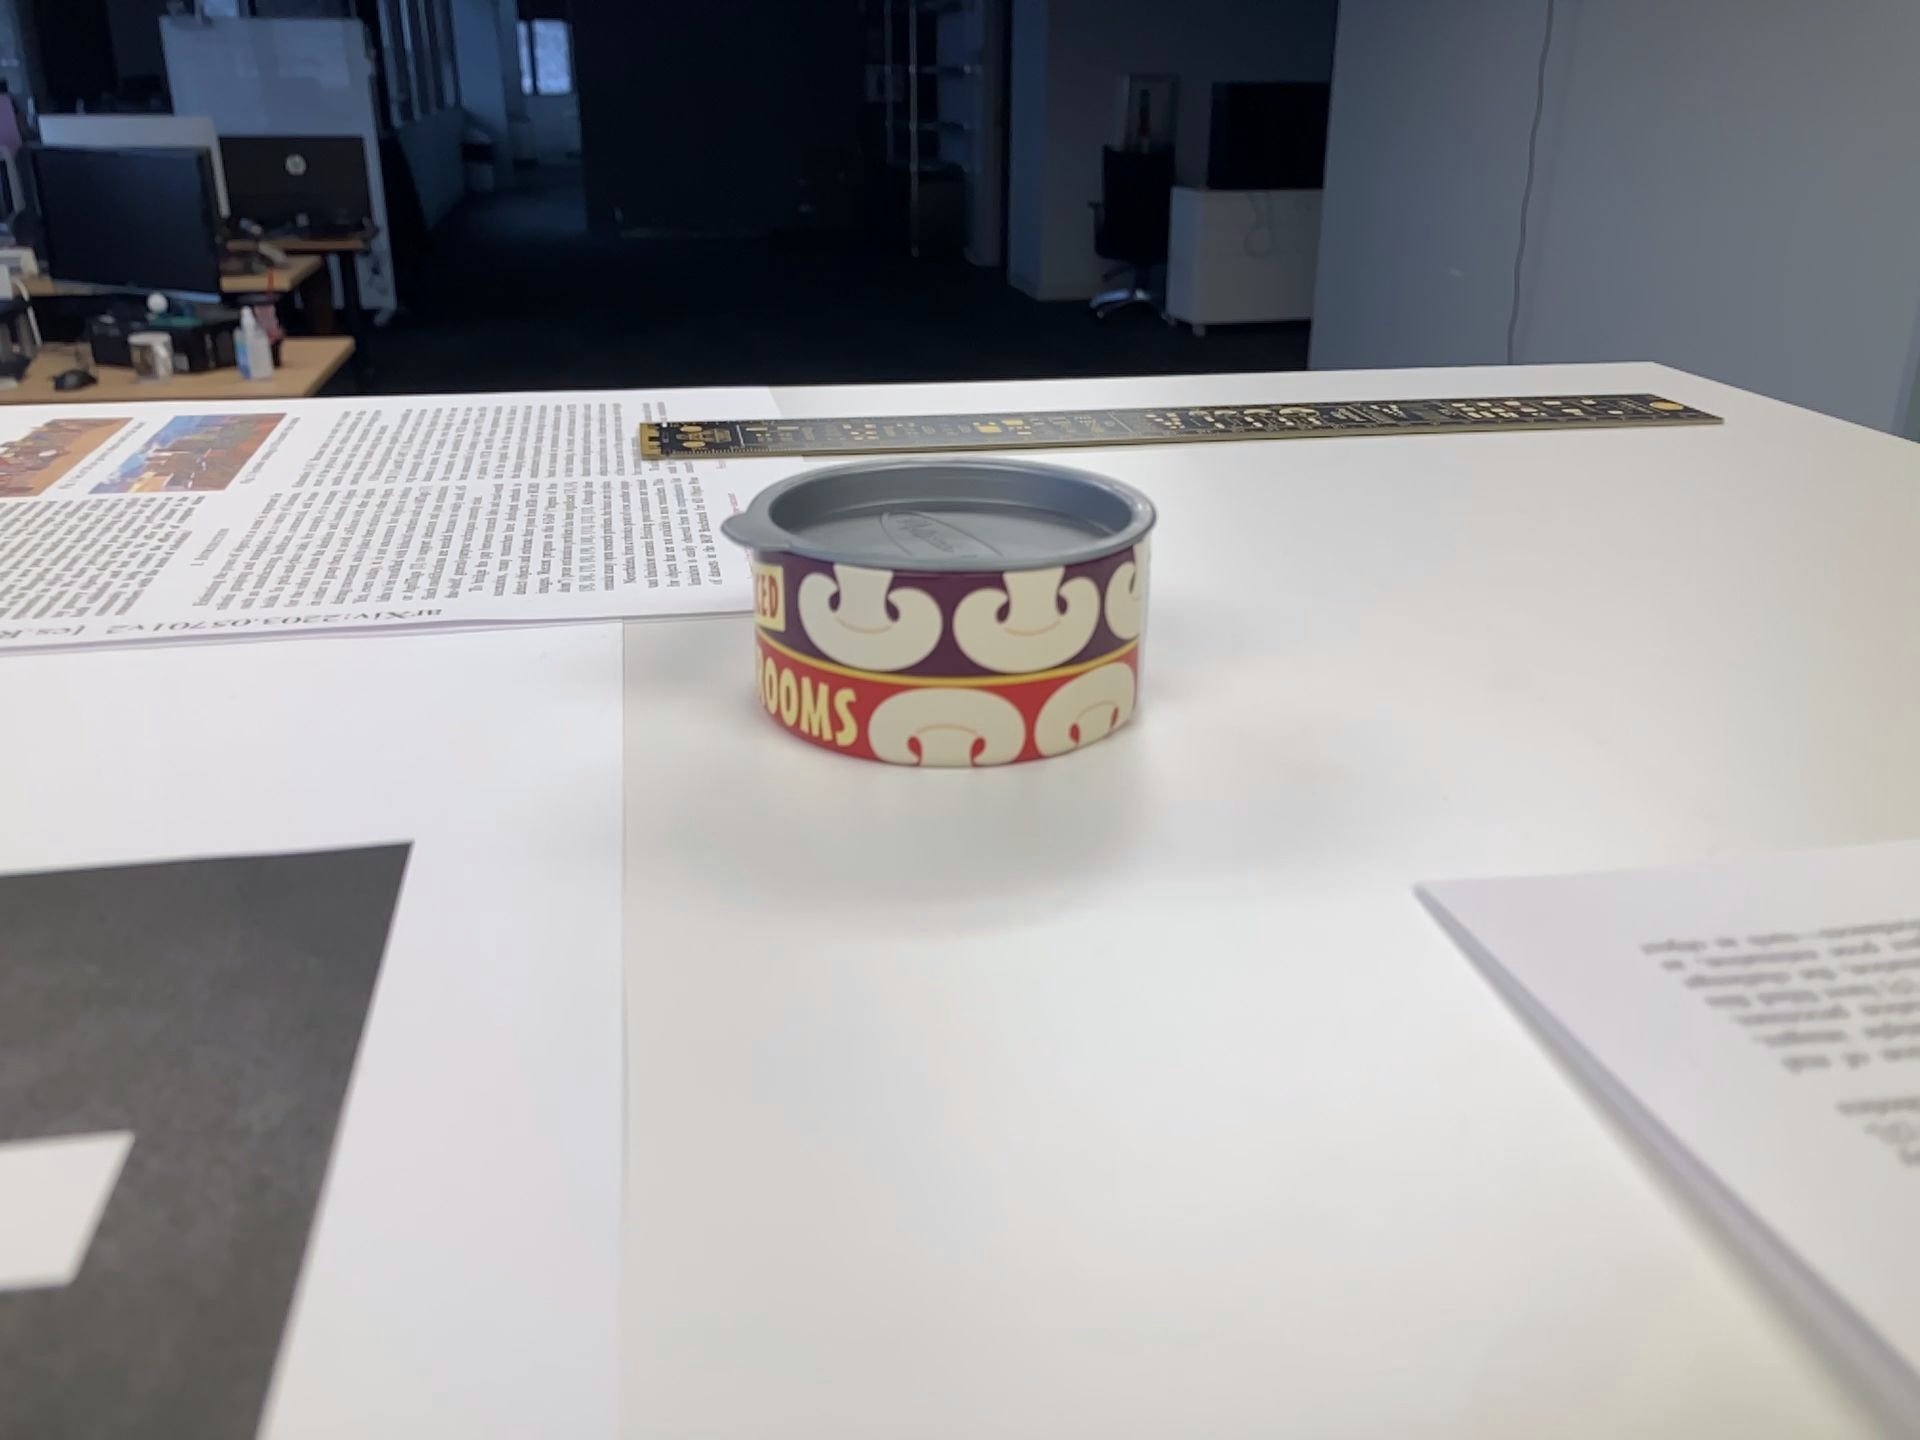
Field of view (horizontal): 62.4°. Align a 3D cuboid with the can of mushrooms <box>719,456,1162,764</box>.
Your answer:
[{"bbox_3d":[-0.004,-0.020,0.259,0.071,0.033,0.071,1,23,0],"label":"can of mushrooms"}]
